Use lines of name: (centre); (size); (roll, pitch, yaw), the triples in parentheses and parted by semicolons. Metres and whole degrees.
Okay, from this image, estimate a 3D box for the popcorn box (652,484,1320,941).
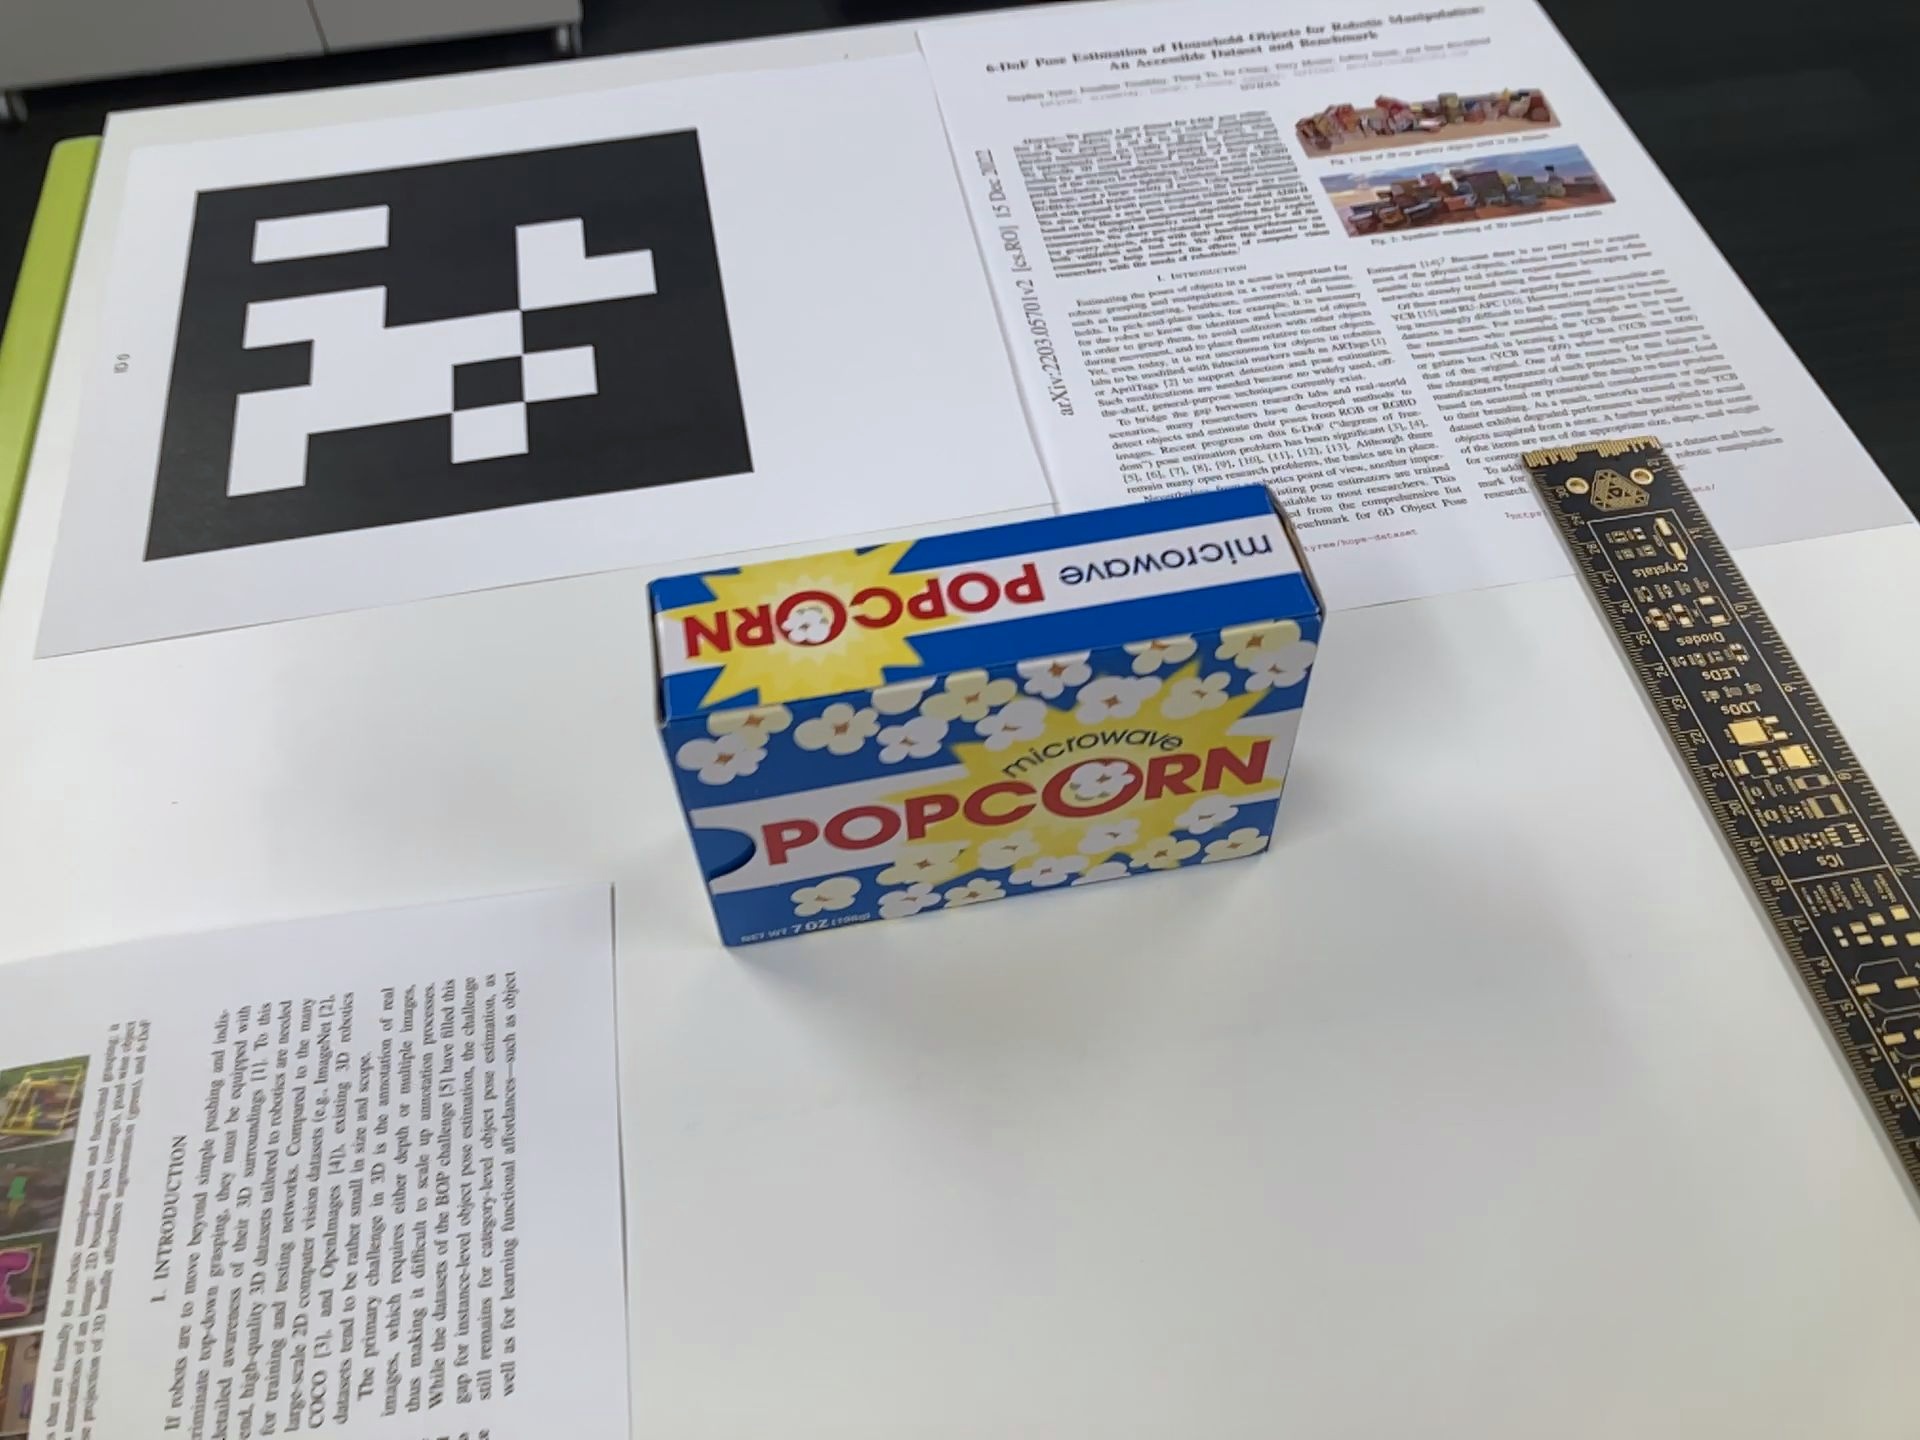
popcorn box: (0.005, 0.001, 0.333); (0.126, 0.085, 0.038); (-9, 54, -5)
